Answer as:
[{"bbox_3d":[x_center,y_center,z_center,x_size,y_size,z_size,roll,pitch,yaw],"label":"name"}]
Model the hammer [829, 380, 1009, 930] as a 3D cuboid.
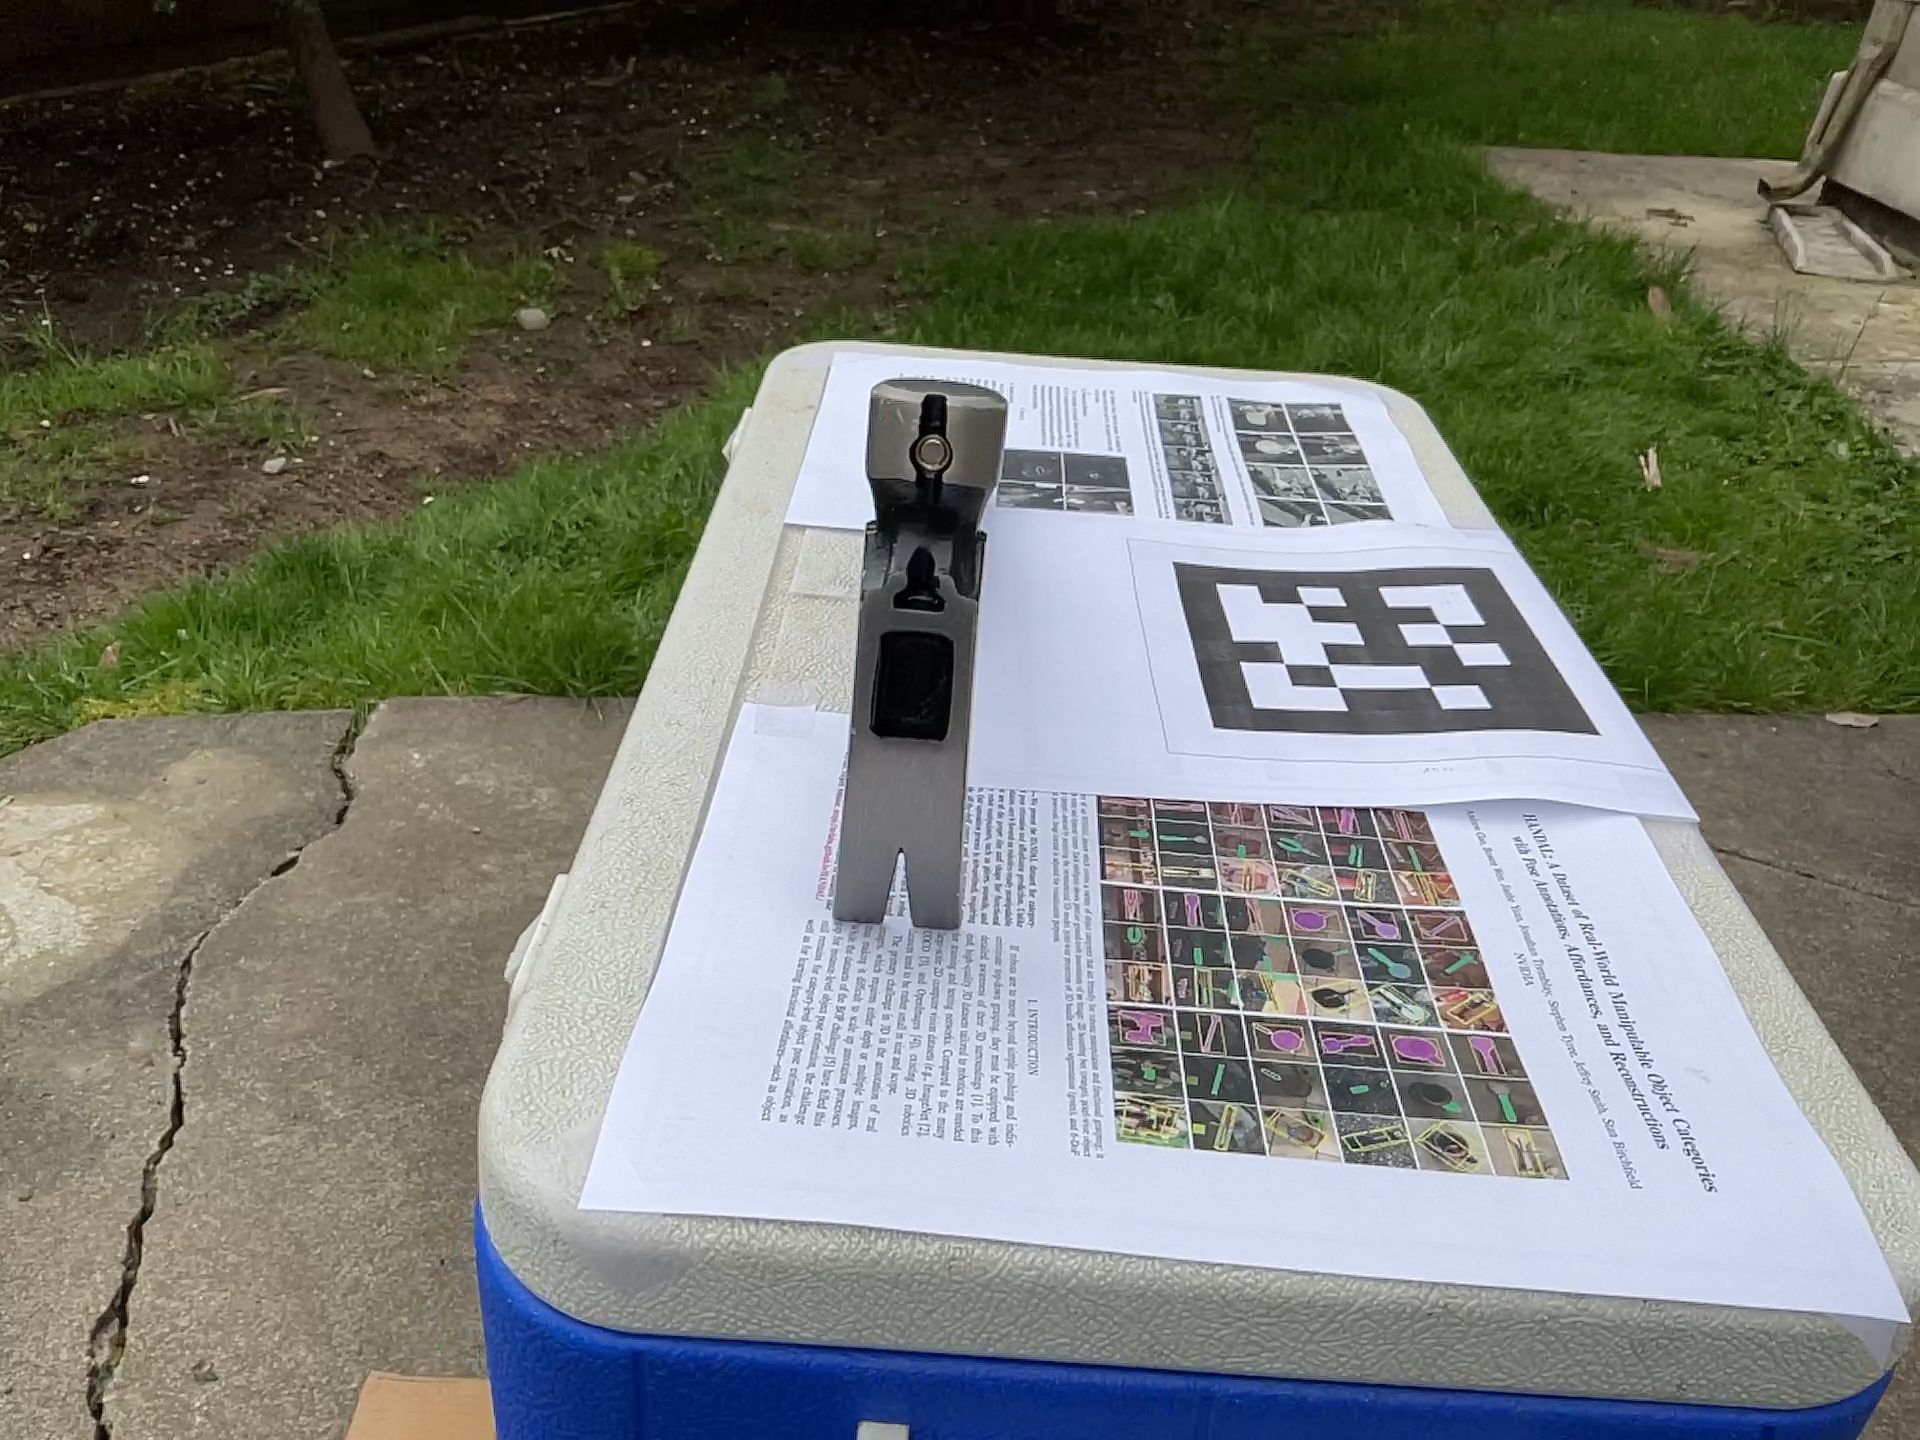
[{"bbox_3d":[-0.009,-0.058,0.533,0.035,0.146,0.335,6,19,-1],"label":"hammer"}]
